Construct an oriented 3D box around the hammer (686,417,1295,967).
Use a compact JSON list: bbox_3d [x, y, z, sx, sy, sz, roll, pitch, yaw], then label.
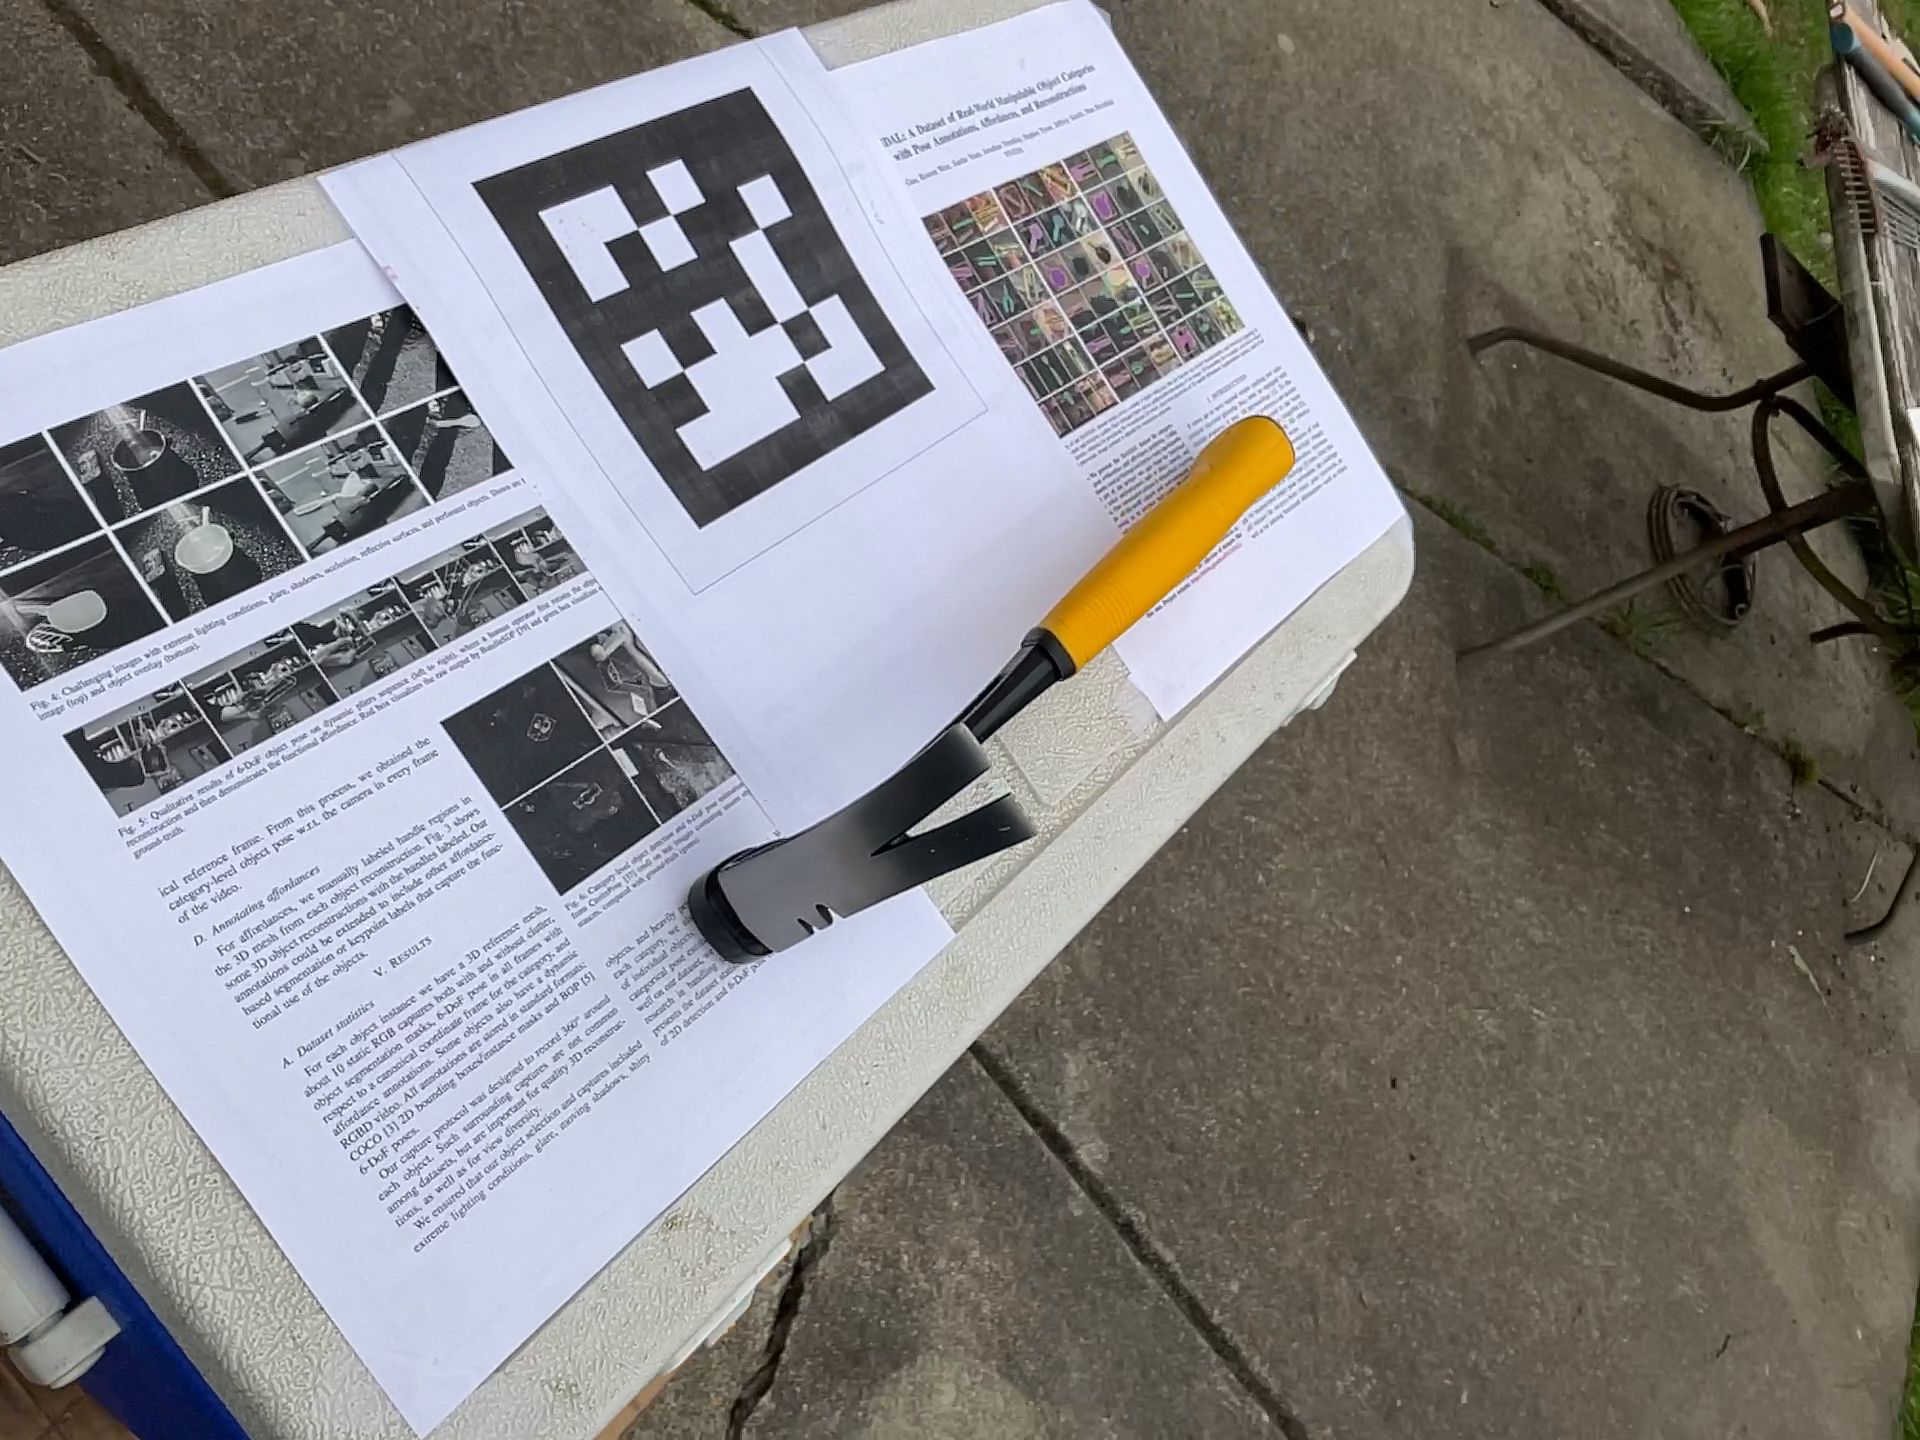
[{"bbox_3d":[0.047,-0.037,0.547,0.034,0.127,0.337,54,43,-7],"label":"hammer"}]
